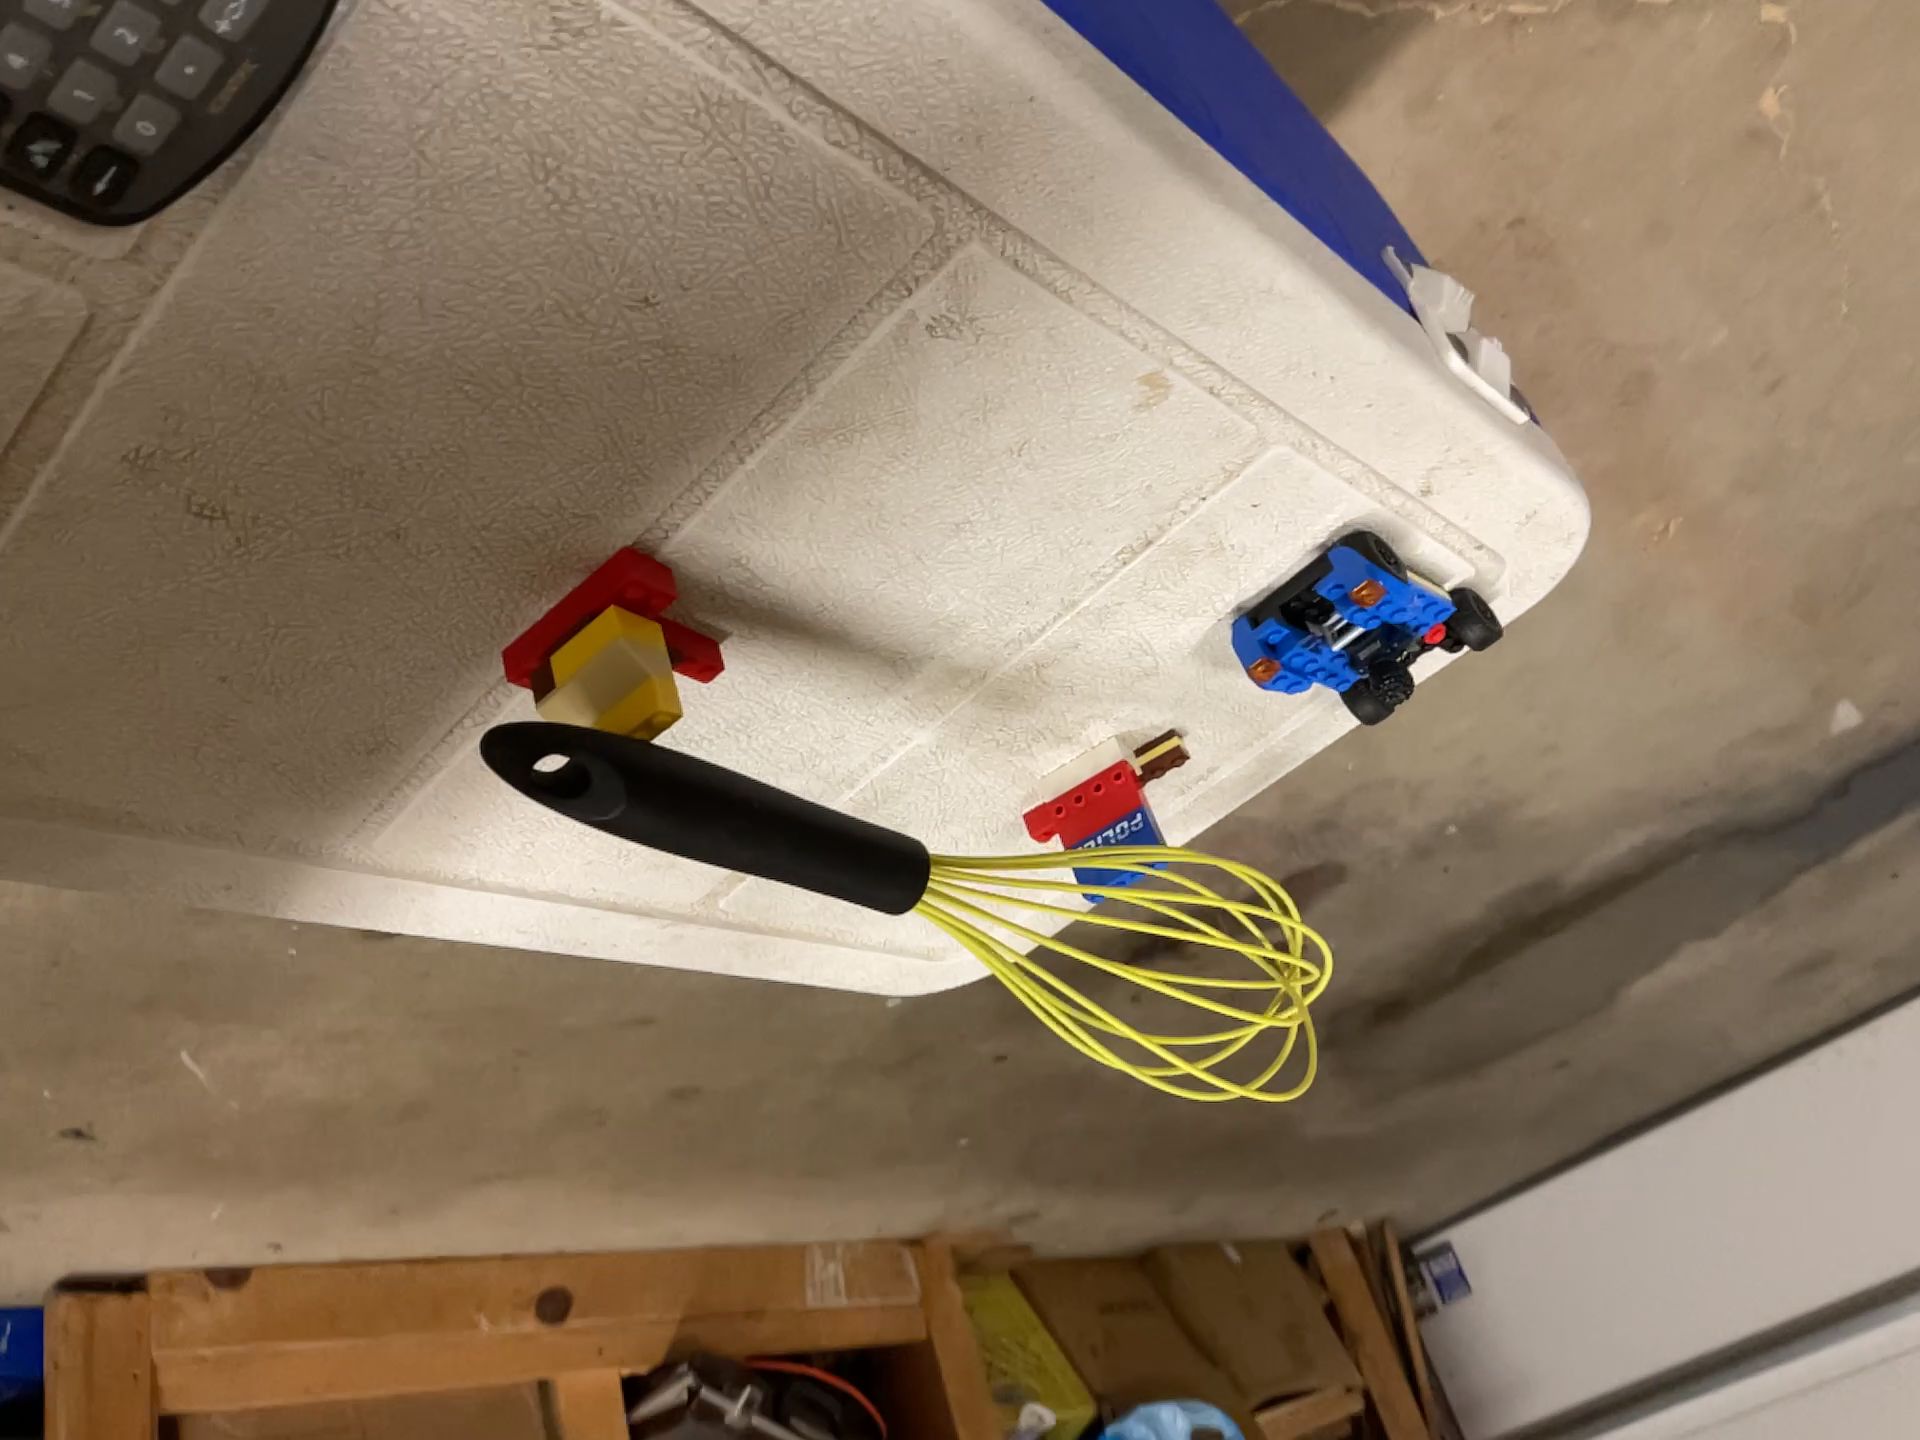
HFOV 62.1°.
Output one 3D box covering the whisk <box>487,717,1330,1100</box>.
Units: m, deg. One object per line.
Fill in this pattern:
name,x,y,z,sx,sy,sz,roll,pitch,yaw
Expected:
whisk,0.005,0.051,0.458,0.311,0.067,0.080,23,83,-38
